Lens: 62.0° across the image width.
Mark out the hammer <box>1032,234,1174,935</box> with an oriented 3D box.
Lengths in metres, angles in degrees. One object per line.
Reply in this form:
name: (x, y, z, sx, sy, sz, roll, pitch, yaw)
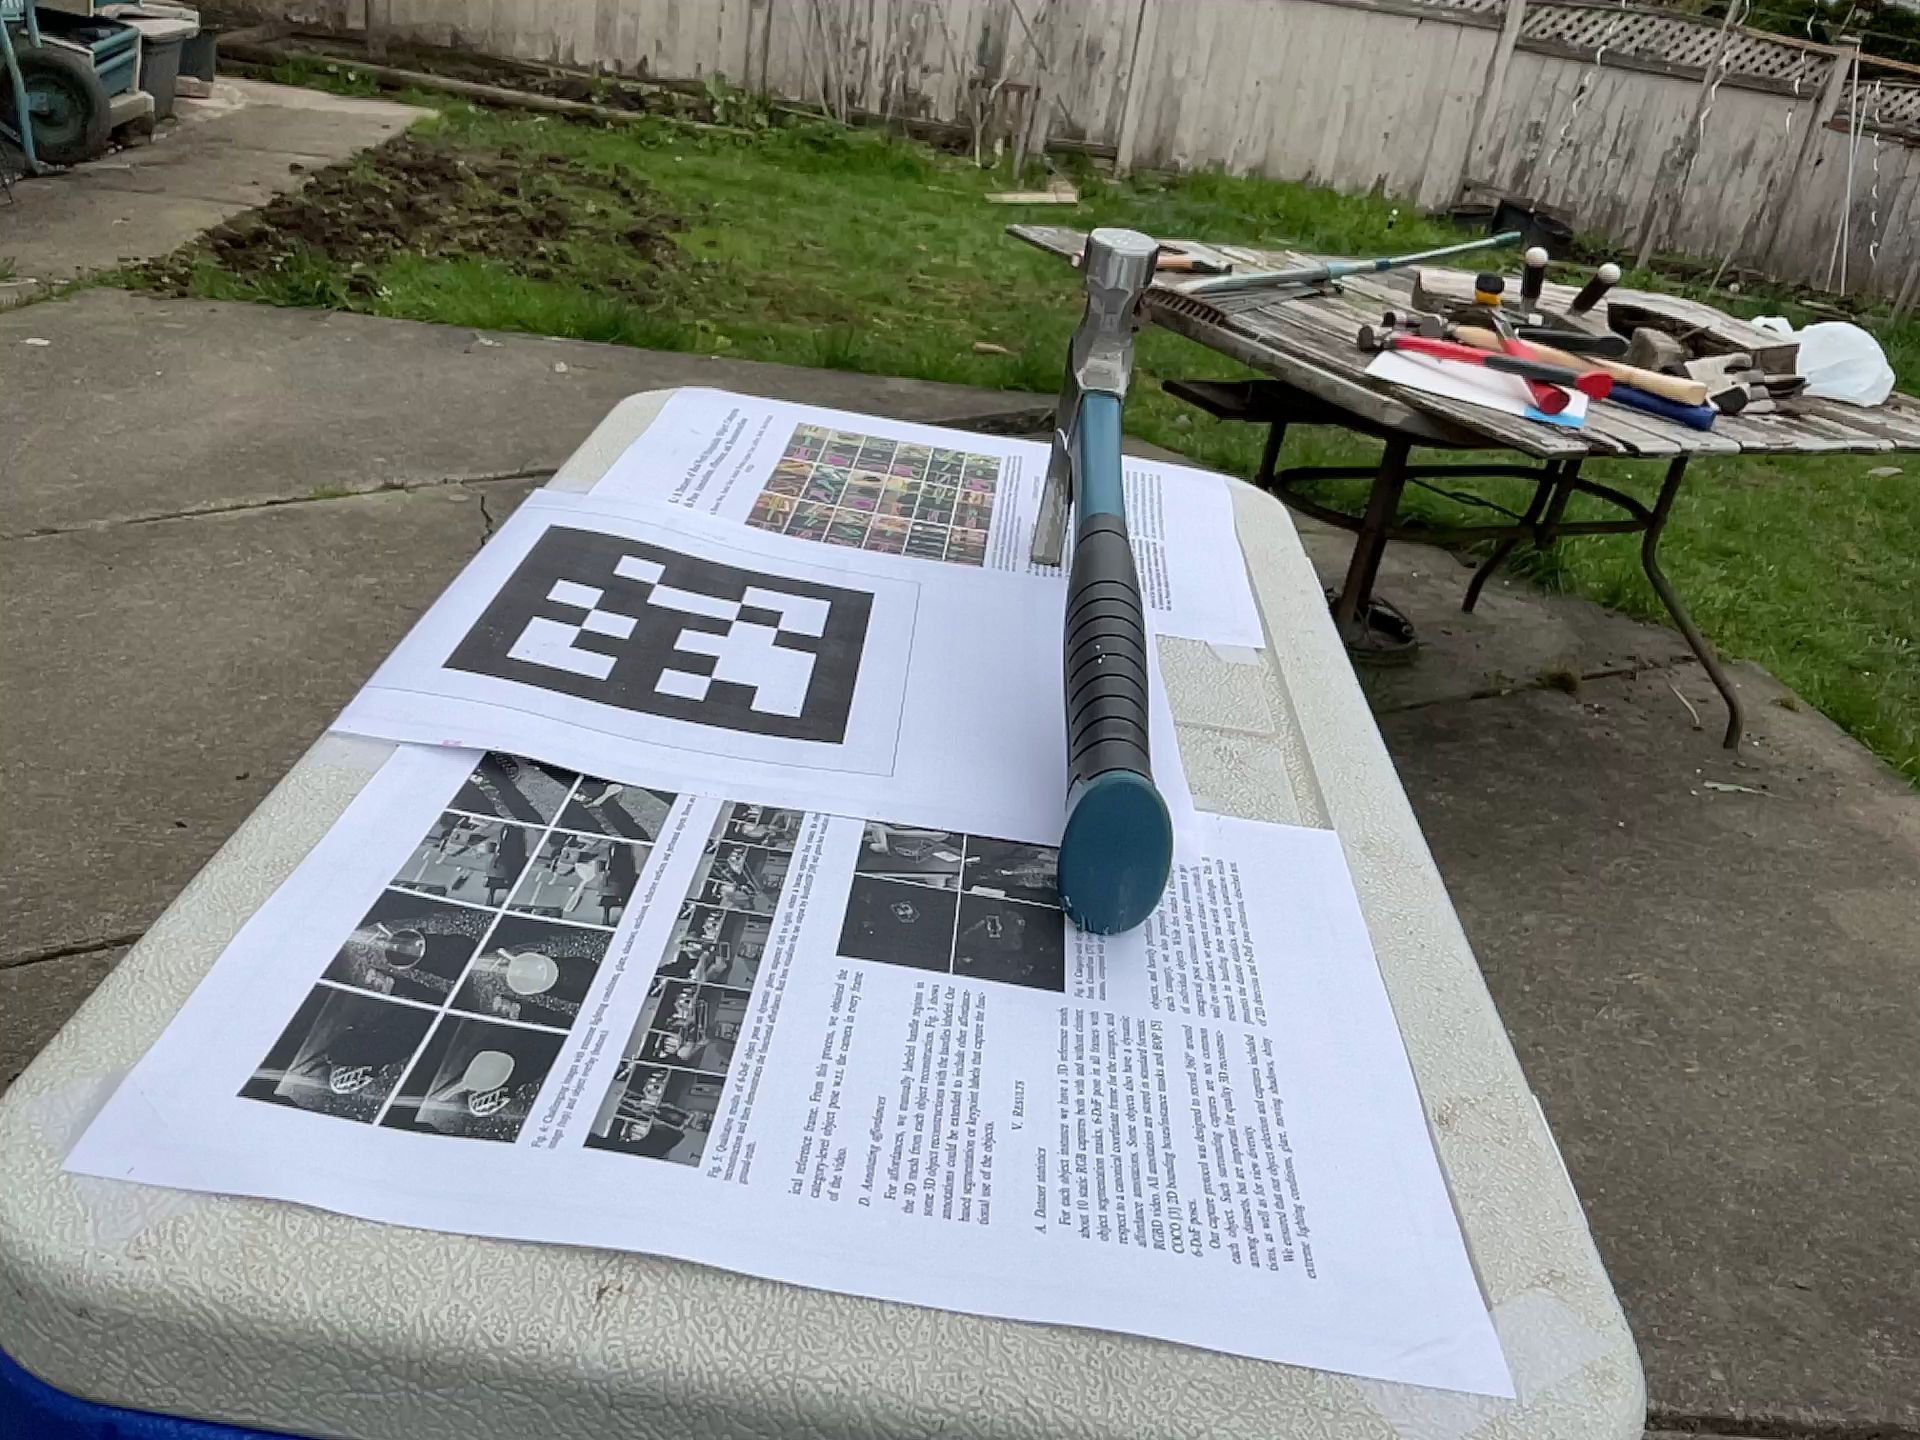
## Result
hammer: (0.049, -0.054, 0.557, 0.033, 0.128, 0.331, 8, 35, -2)
